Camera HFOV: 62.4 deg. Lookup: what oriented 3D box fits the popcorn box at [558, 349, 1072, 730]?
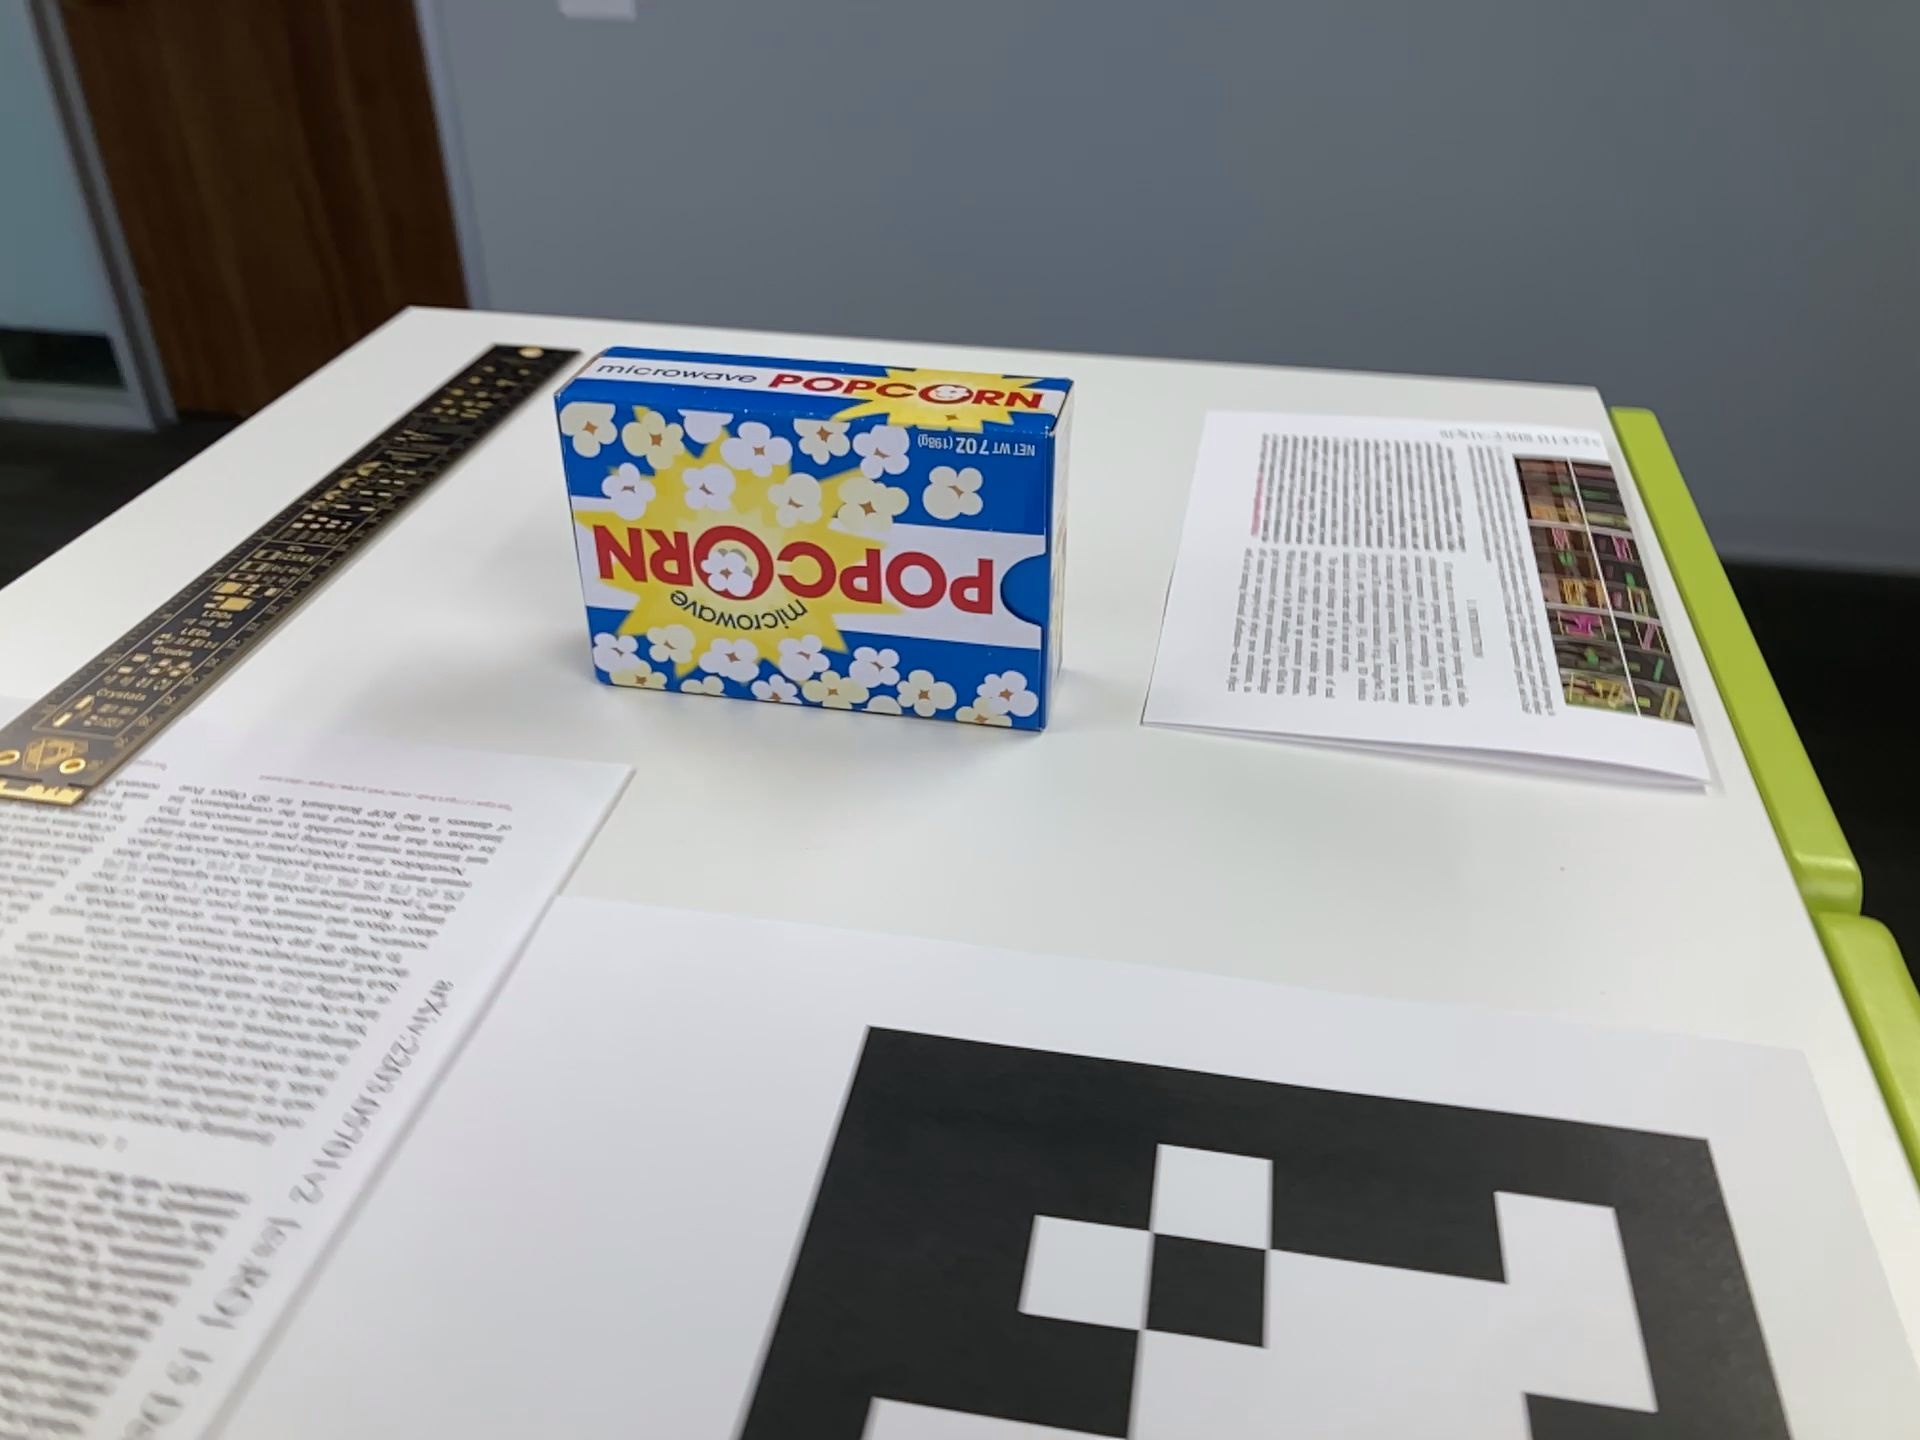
[{"bbox_3d":[-0.036,-0.048,0.417,0.126,0.085,0.038,6,32,9],"label":"popcorn box"}]
